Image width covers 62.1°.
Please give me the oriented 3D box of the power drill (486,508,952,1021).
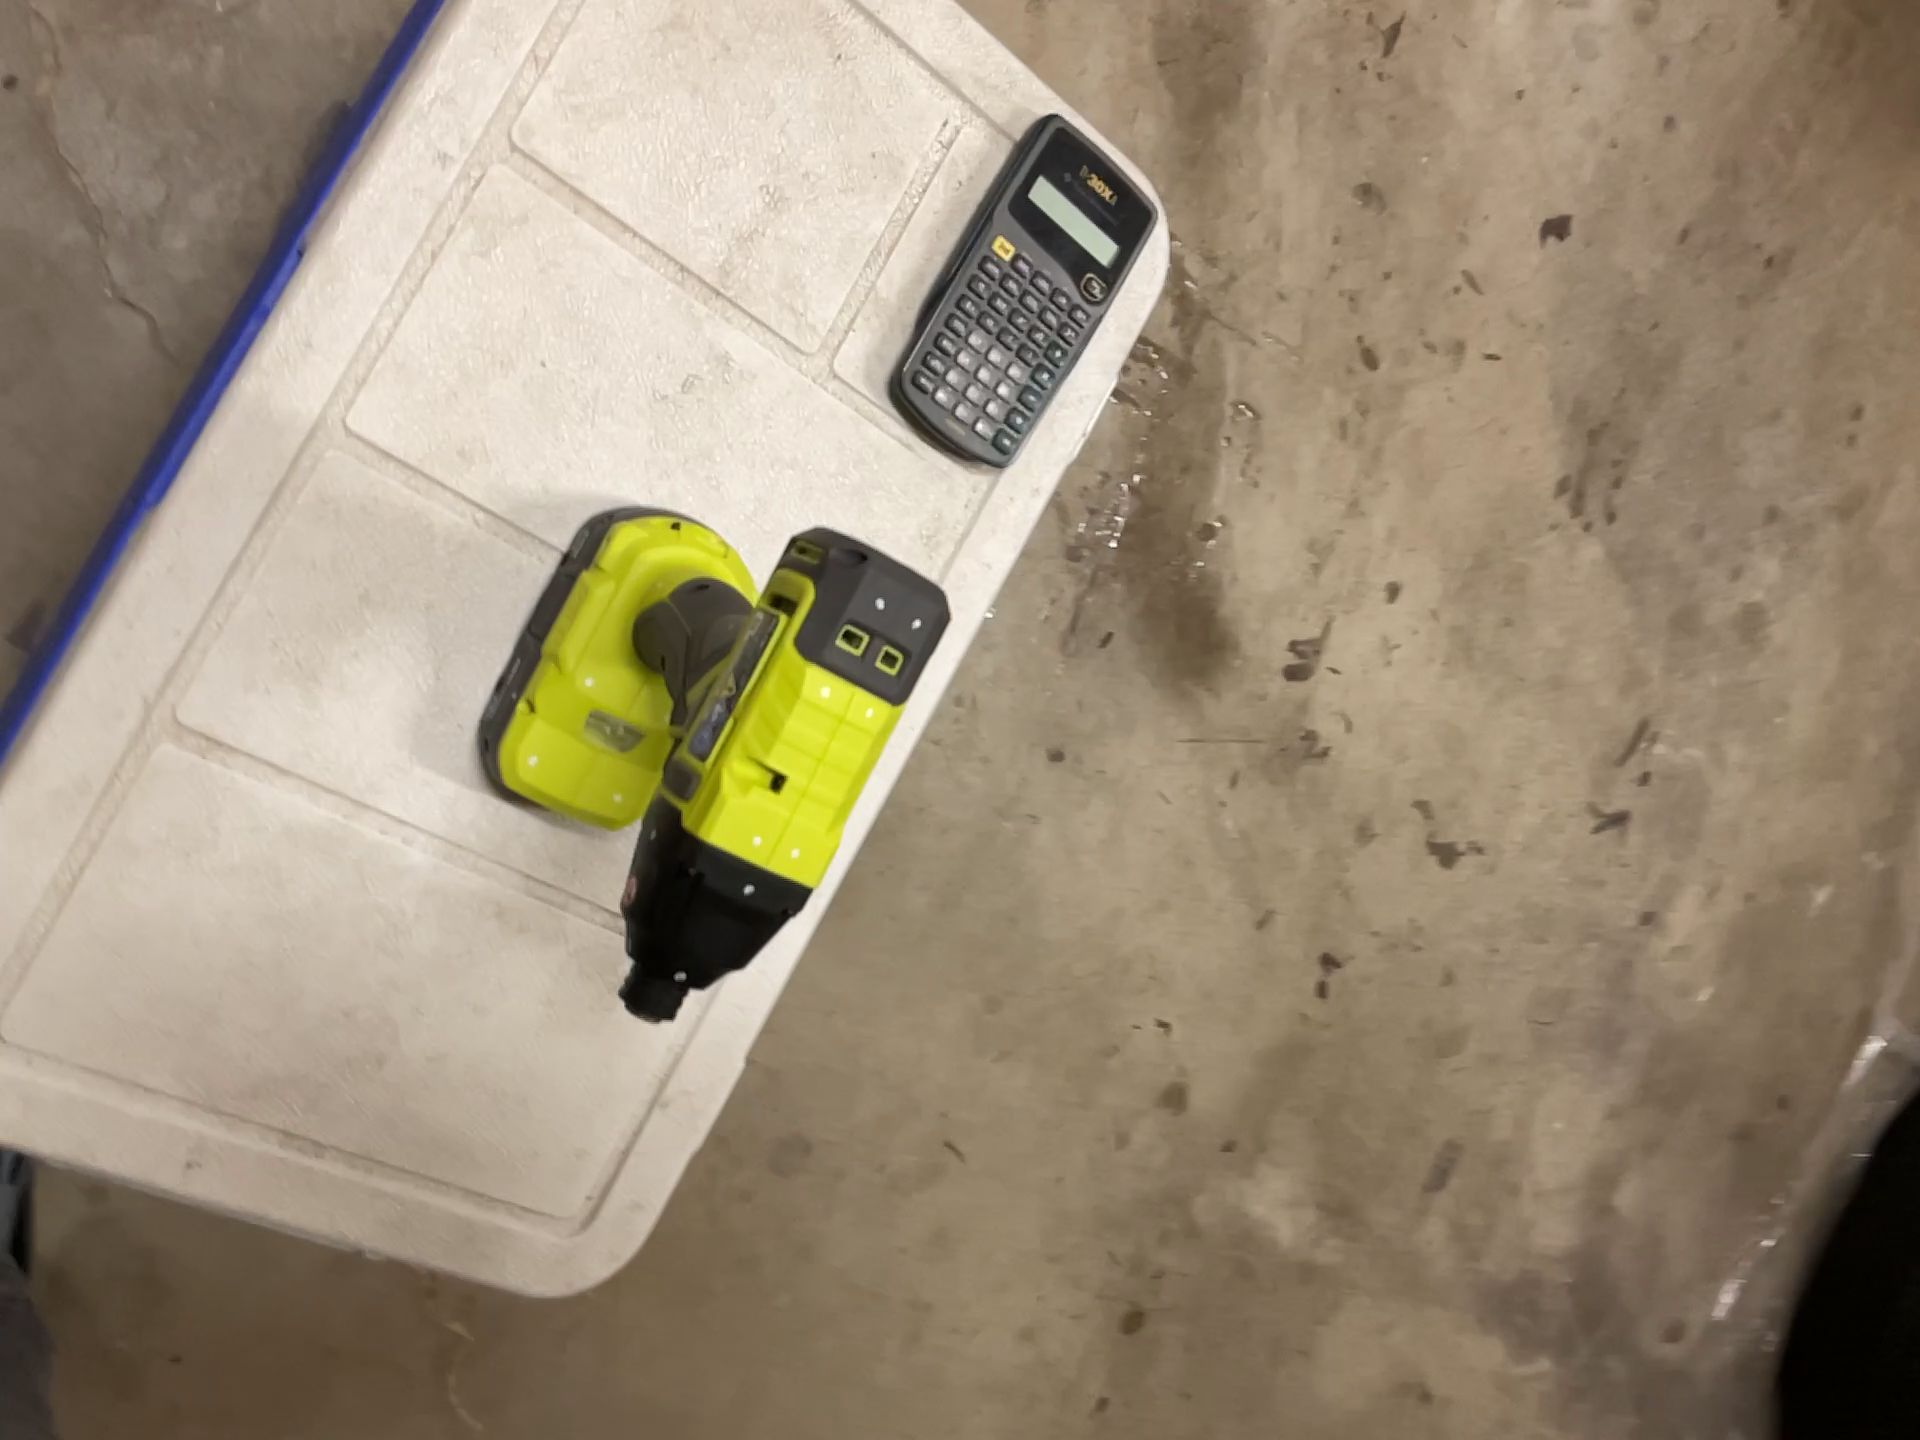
[{"bbox_3d":[-0.105,0.003,0.606,0.080,0.223,0.171,28,88,-31],"label":"power drill"}]
